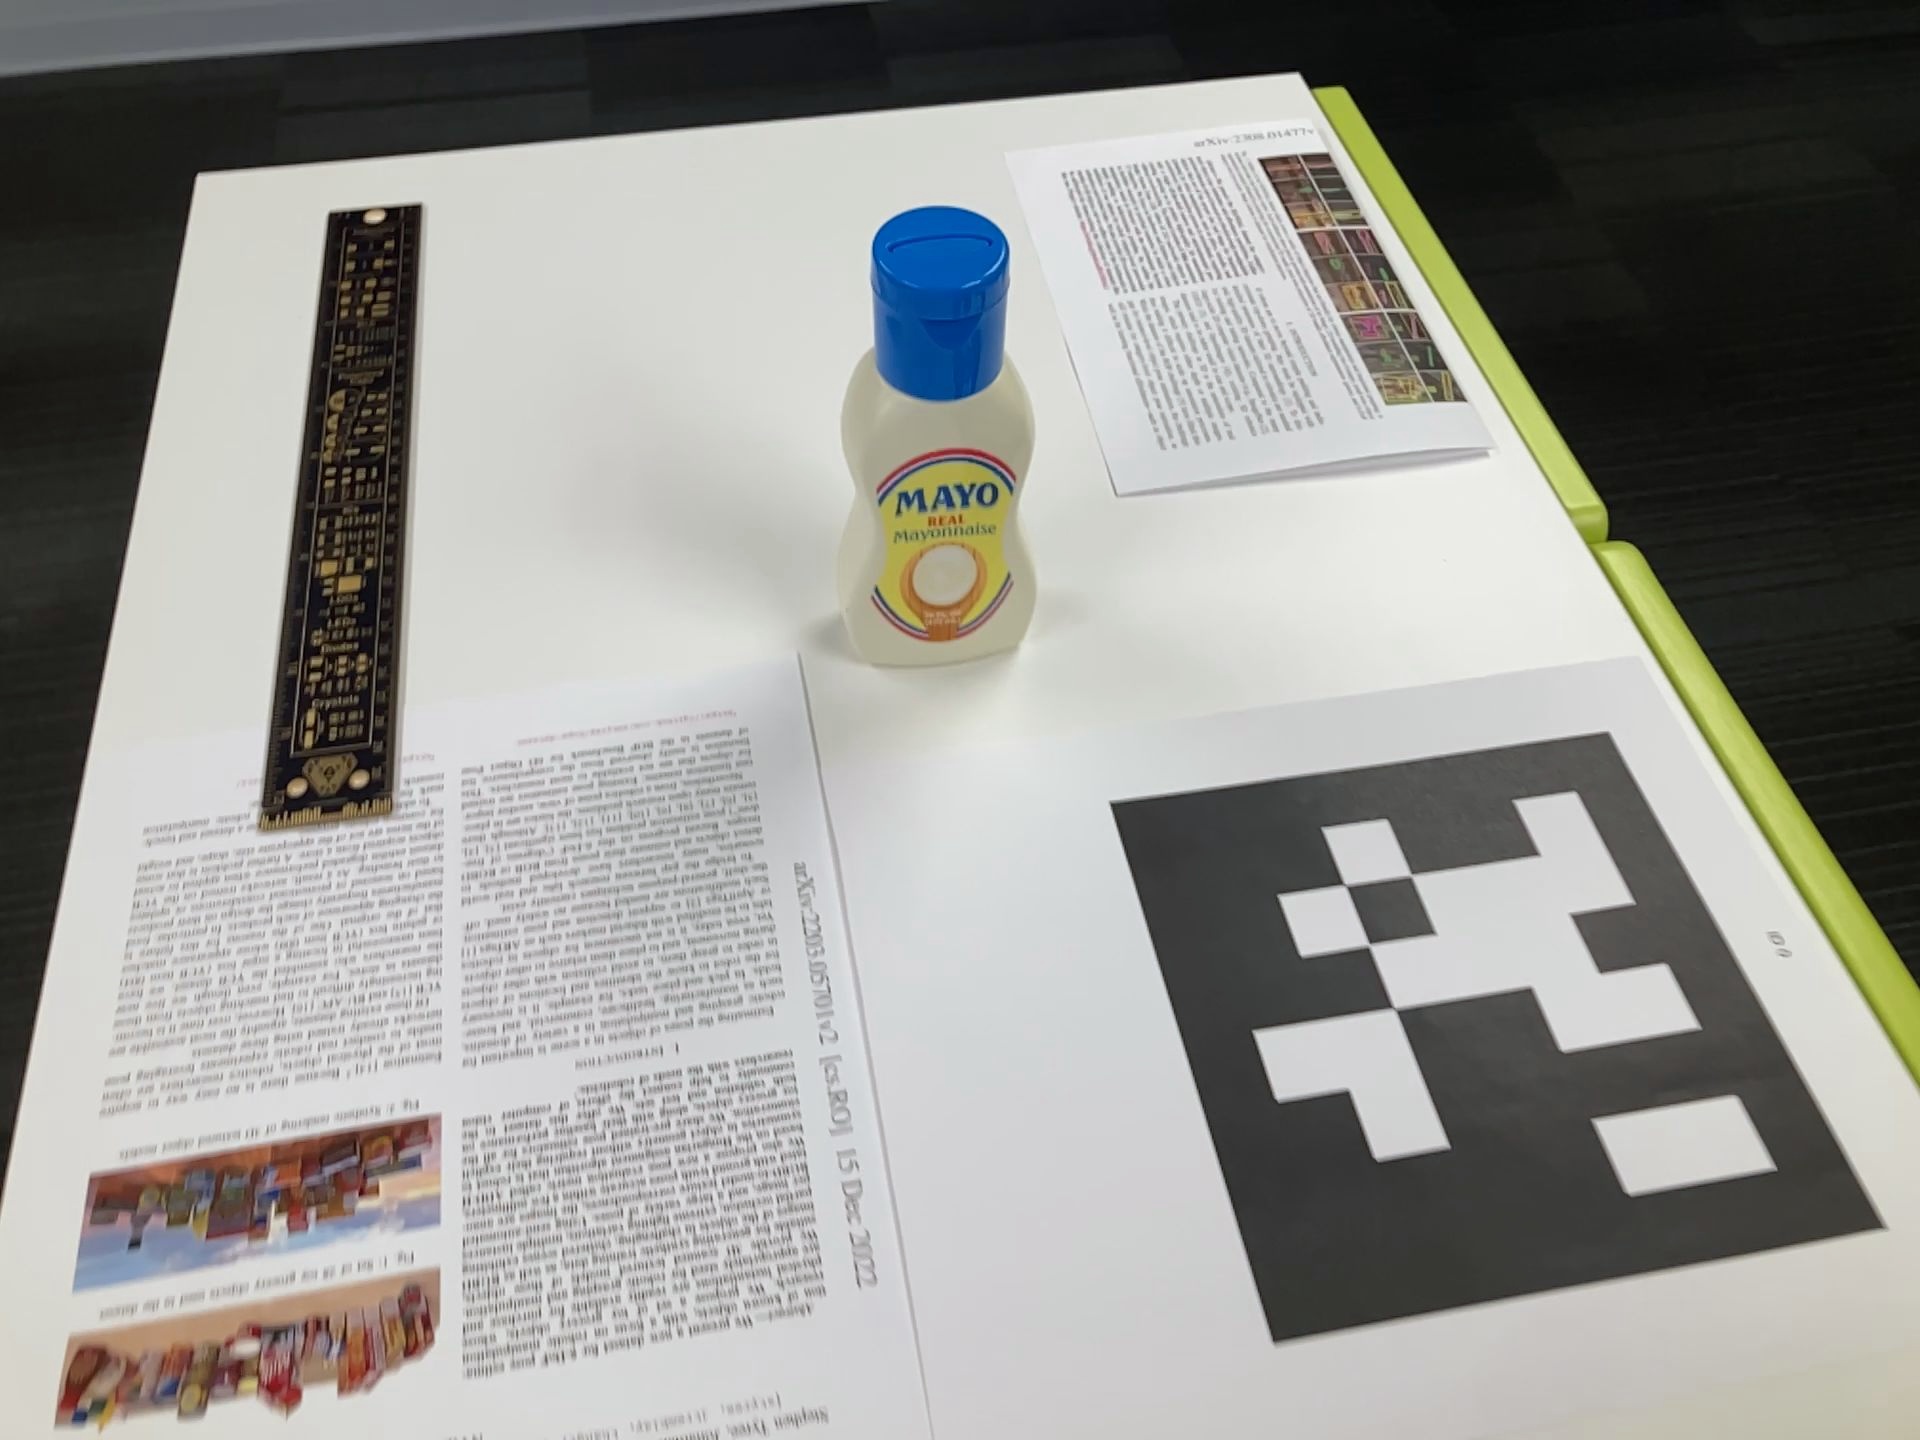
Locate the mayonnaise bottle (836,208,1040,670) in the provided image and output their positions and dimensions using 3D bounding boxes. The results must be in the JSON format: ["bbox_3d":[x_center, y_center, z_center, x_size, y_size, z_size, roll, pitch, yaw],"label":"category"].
[{"bbox_3d":[-0.006,-0.076,0.467,0.065,0.148,0.041,-8,52,-7],"label":"mayonnaise bottle"}]
